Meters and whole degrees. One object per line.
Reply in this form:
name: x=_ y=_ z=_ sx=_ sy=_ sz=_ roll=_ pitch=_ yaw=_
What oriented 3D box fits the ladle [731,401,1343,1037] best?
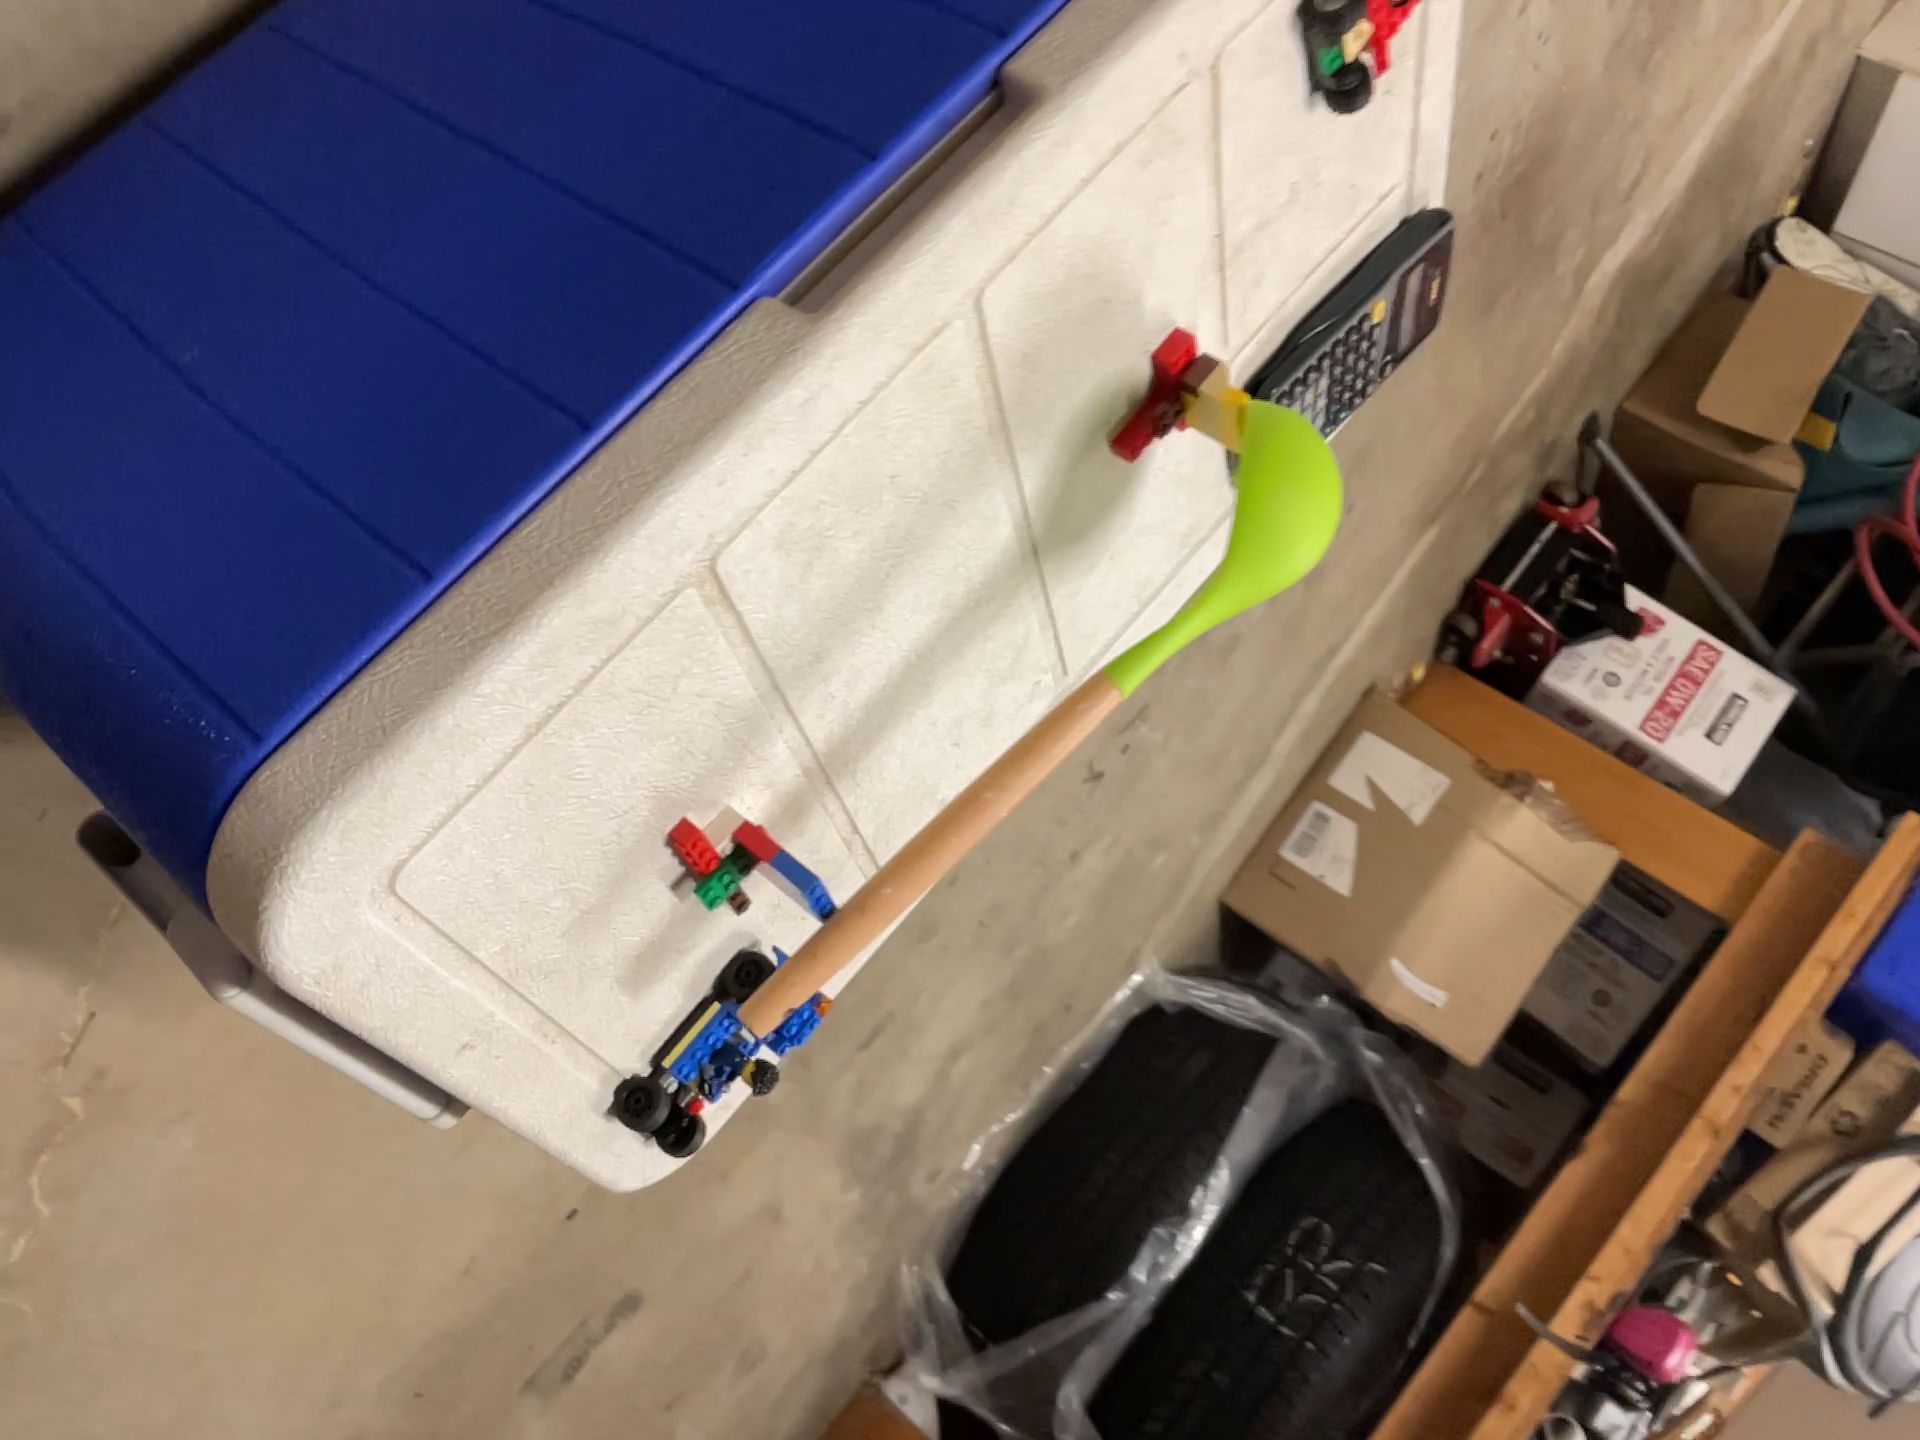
ladle: x=0.030 y=-0.004 z=0.608 sx=0.320 sy=0.062 sz=0.078 roll=-42 pitch=158 yaw=-11
